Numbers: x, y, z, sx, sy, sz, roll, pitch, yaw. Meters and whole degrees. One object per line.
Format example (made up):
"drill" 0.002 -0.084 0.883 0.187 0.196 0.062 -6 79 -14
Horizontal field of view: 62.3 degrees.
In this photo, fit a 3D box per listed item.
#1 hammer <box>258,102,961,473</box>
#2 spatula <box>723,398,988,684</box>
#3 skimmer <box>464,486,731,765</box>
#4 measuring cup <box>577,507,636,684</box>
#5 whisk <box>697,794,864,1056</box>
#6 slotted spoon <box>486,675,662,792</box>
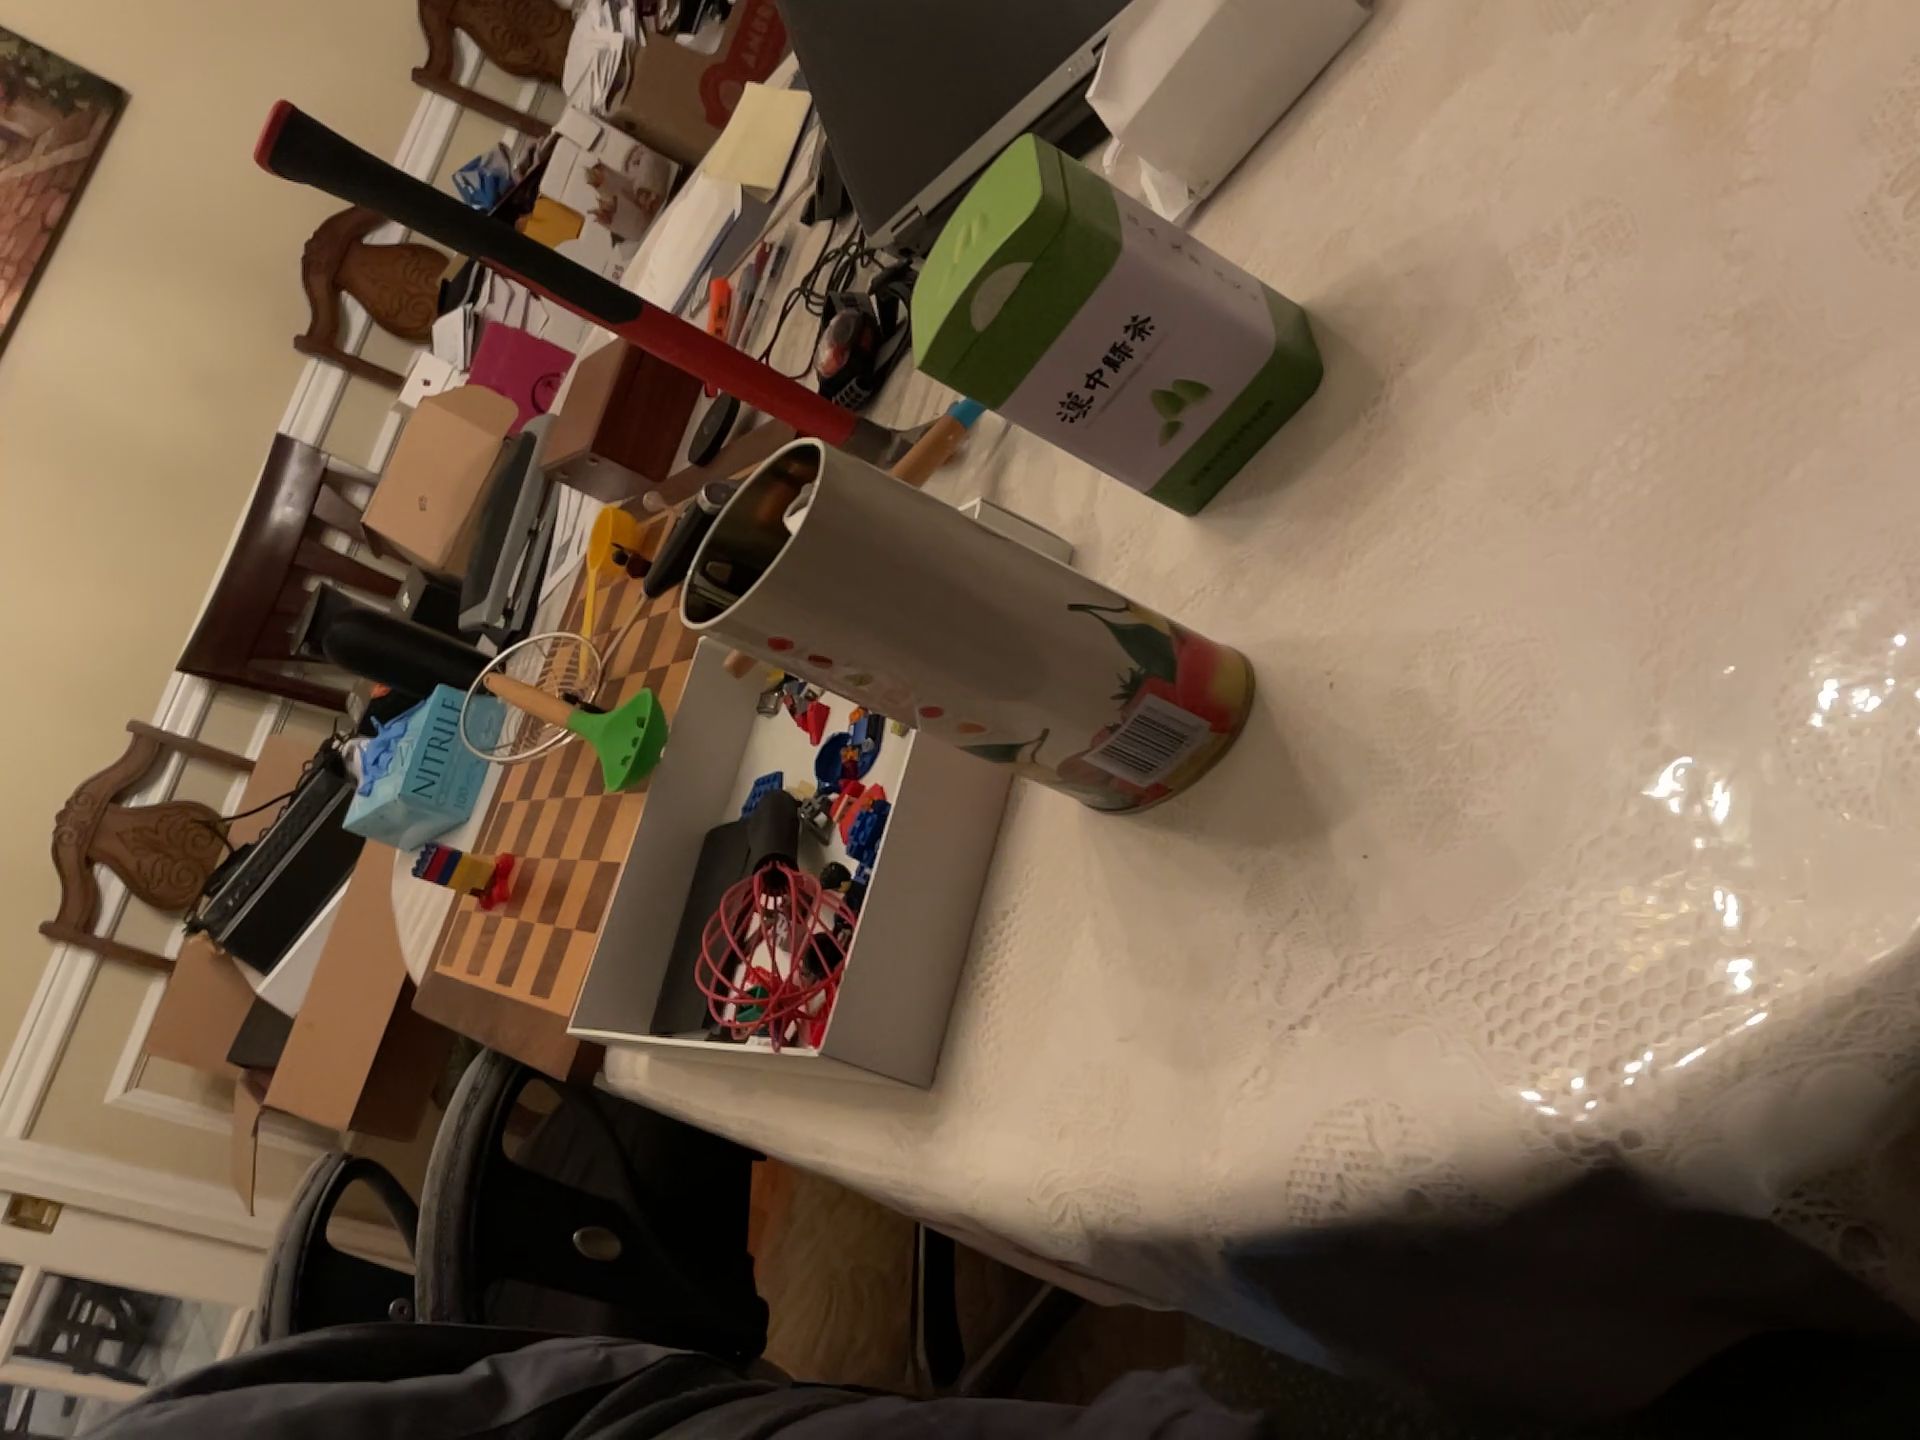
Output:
"hammer" -0.184 -0.229 0.876 0.143 0.385 0.038 -3 66 62
"spatula" -0.026 -0.145 0.834 0.317 0.044 0.082 -51 23 -18
"skimmer" -0.280 -0.077 1.202 0.363 0.090 0.127 -42 32 47
"measuring cup" -0.308 -0.106 1.377 0.062 0.029 0.156 -6 75 57
"whisk" -0.088 0.084 0.771 0.073 0.073 0.296 -44 15 5
"slotted spoon" -0.272 -0.005 1.096 0.314 0.031 0.070 16 84 55
